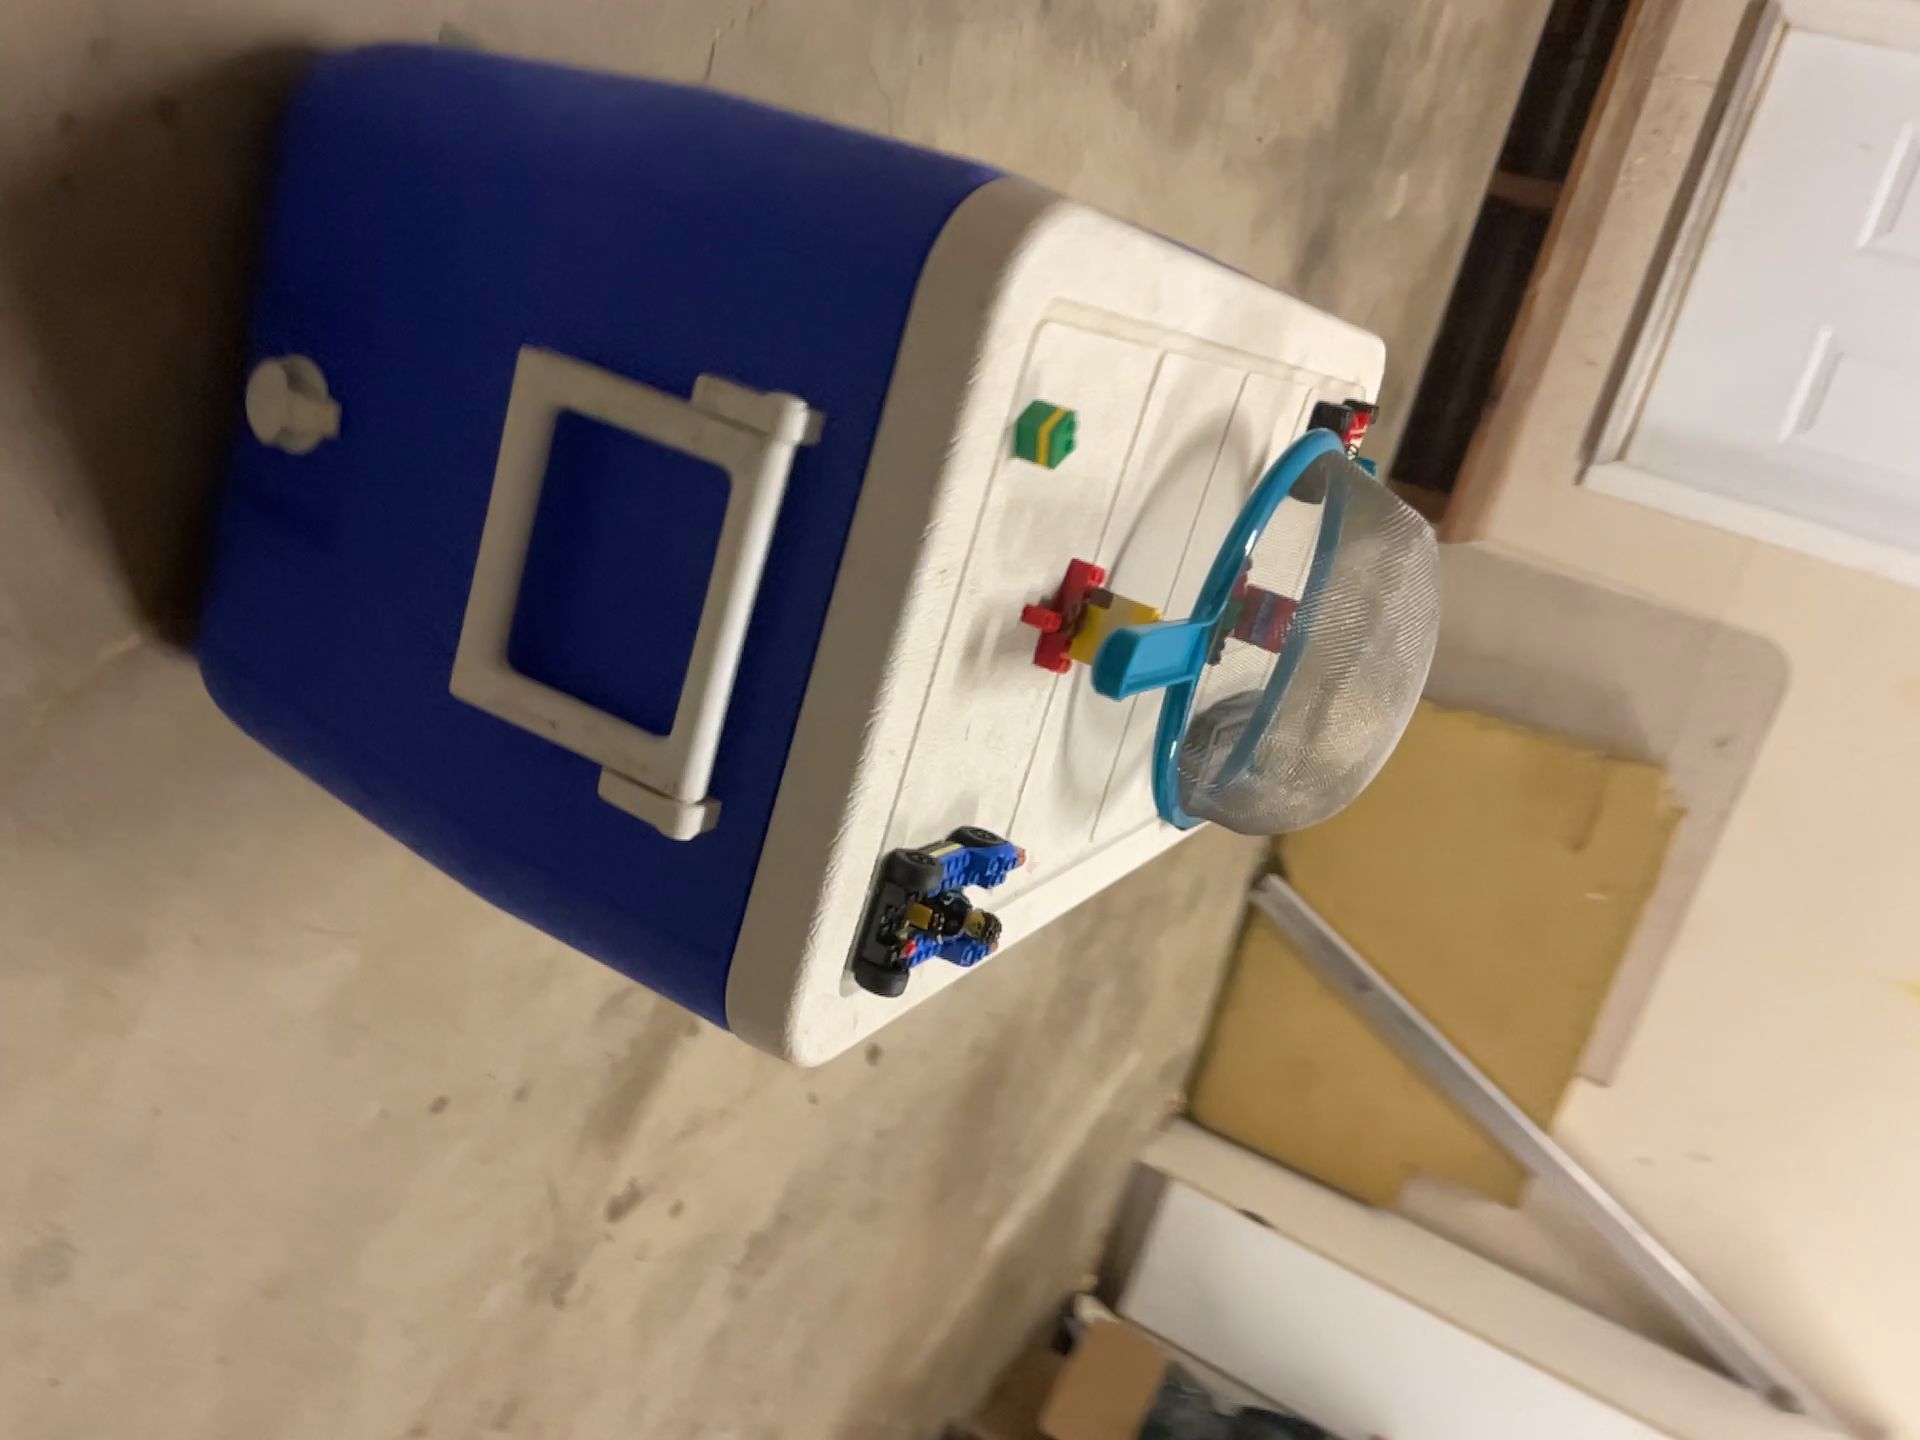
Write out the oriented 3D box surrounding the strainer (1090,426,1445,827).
[{"bbox_3d":[0.155,-0.024,0.730,0.340,0.095,0.211,-14,123,-65],"label":"strainer"}]
